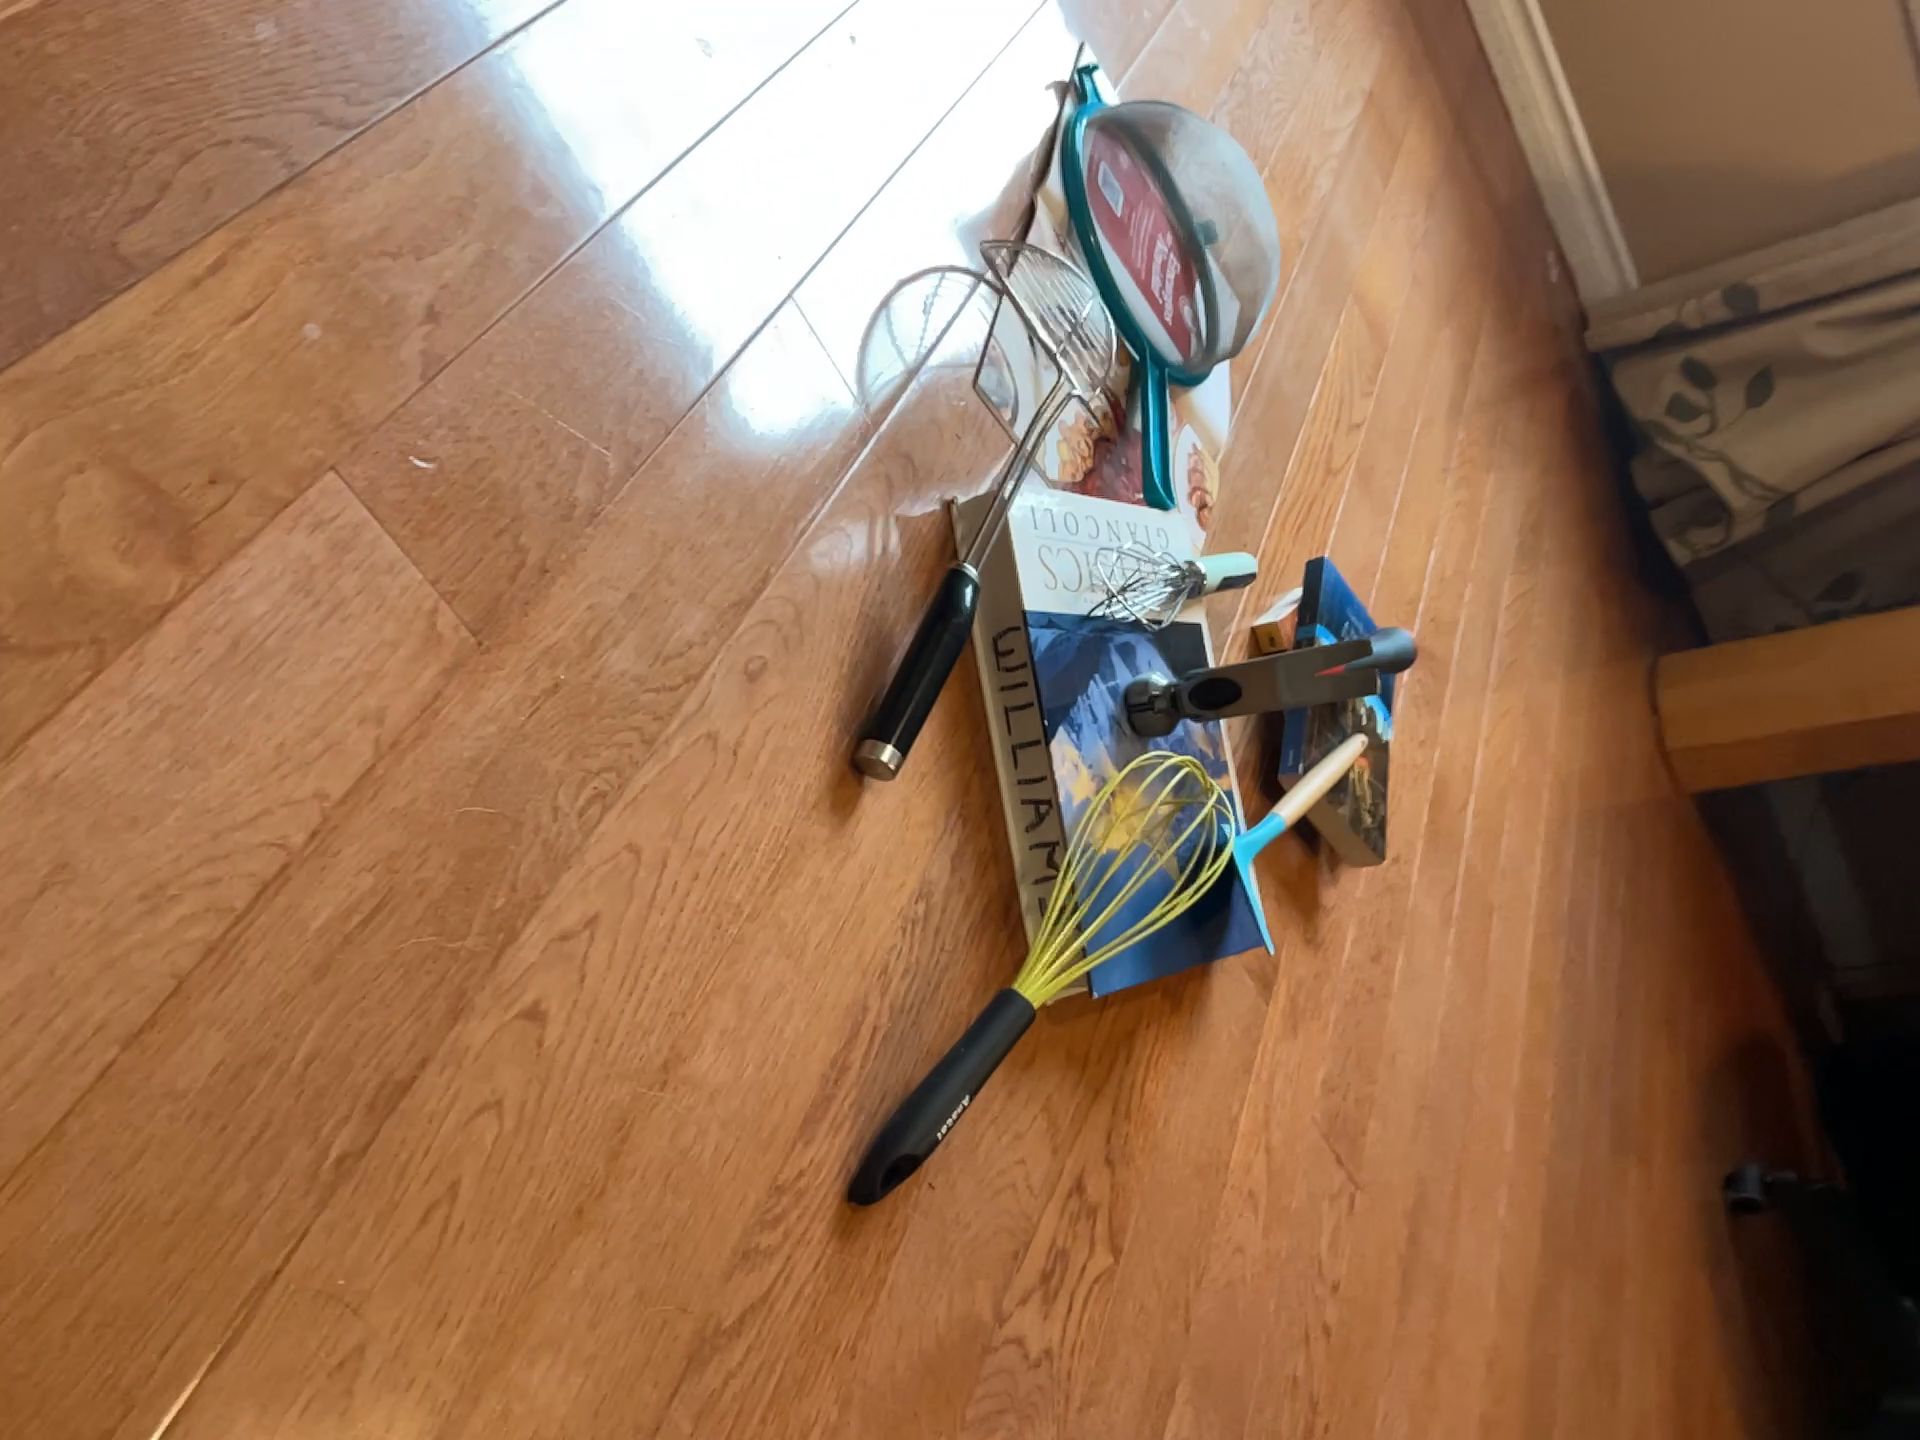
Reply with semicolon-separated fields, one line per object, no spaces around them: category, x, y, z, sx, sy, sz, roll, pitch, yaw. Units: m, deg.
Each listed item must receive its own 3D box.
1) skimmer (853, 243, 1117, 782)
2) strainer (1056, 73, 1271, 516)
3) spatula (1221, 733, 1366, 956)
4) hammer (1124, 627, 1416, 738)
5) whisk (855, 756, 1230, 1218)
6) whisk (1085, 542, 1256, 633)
skimmer;0.002;-0.119;0.866;0.127;0.090;0.364;49;52;-37
strainer;0.160;-0.289;1.083;0.211;0.095;0.341;37;43;-44
spatula;0.224;0.058;1.043;0.318;0.044;0.082;-30;101;-55
hammer;0.251;-0.036;1.046;0.386;0.143;0.038;-12;91;-59
whisk;0.043;0.122;0.780;0.312;0.067;0.080;-46;132;-36
whisk;0.136;-0.084;0.974;0.059;0.057;0.246;48;26;14
